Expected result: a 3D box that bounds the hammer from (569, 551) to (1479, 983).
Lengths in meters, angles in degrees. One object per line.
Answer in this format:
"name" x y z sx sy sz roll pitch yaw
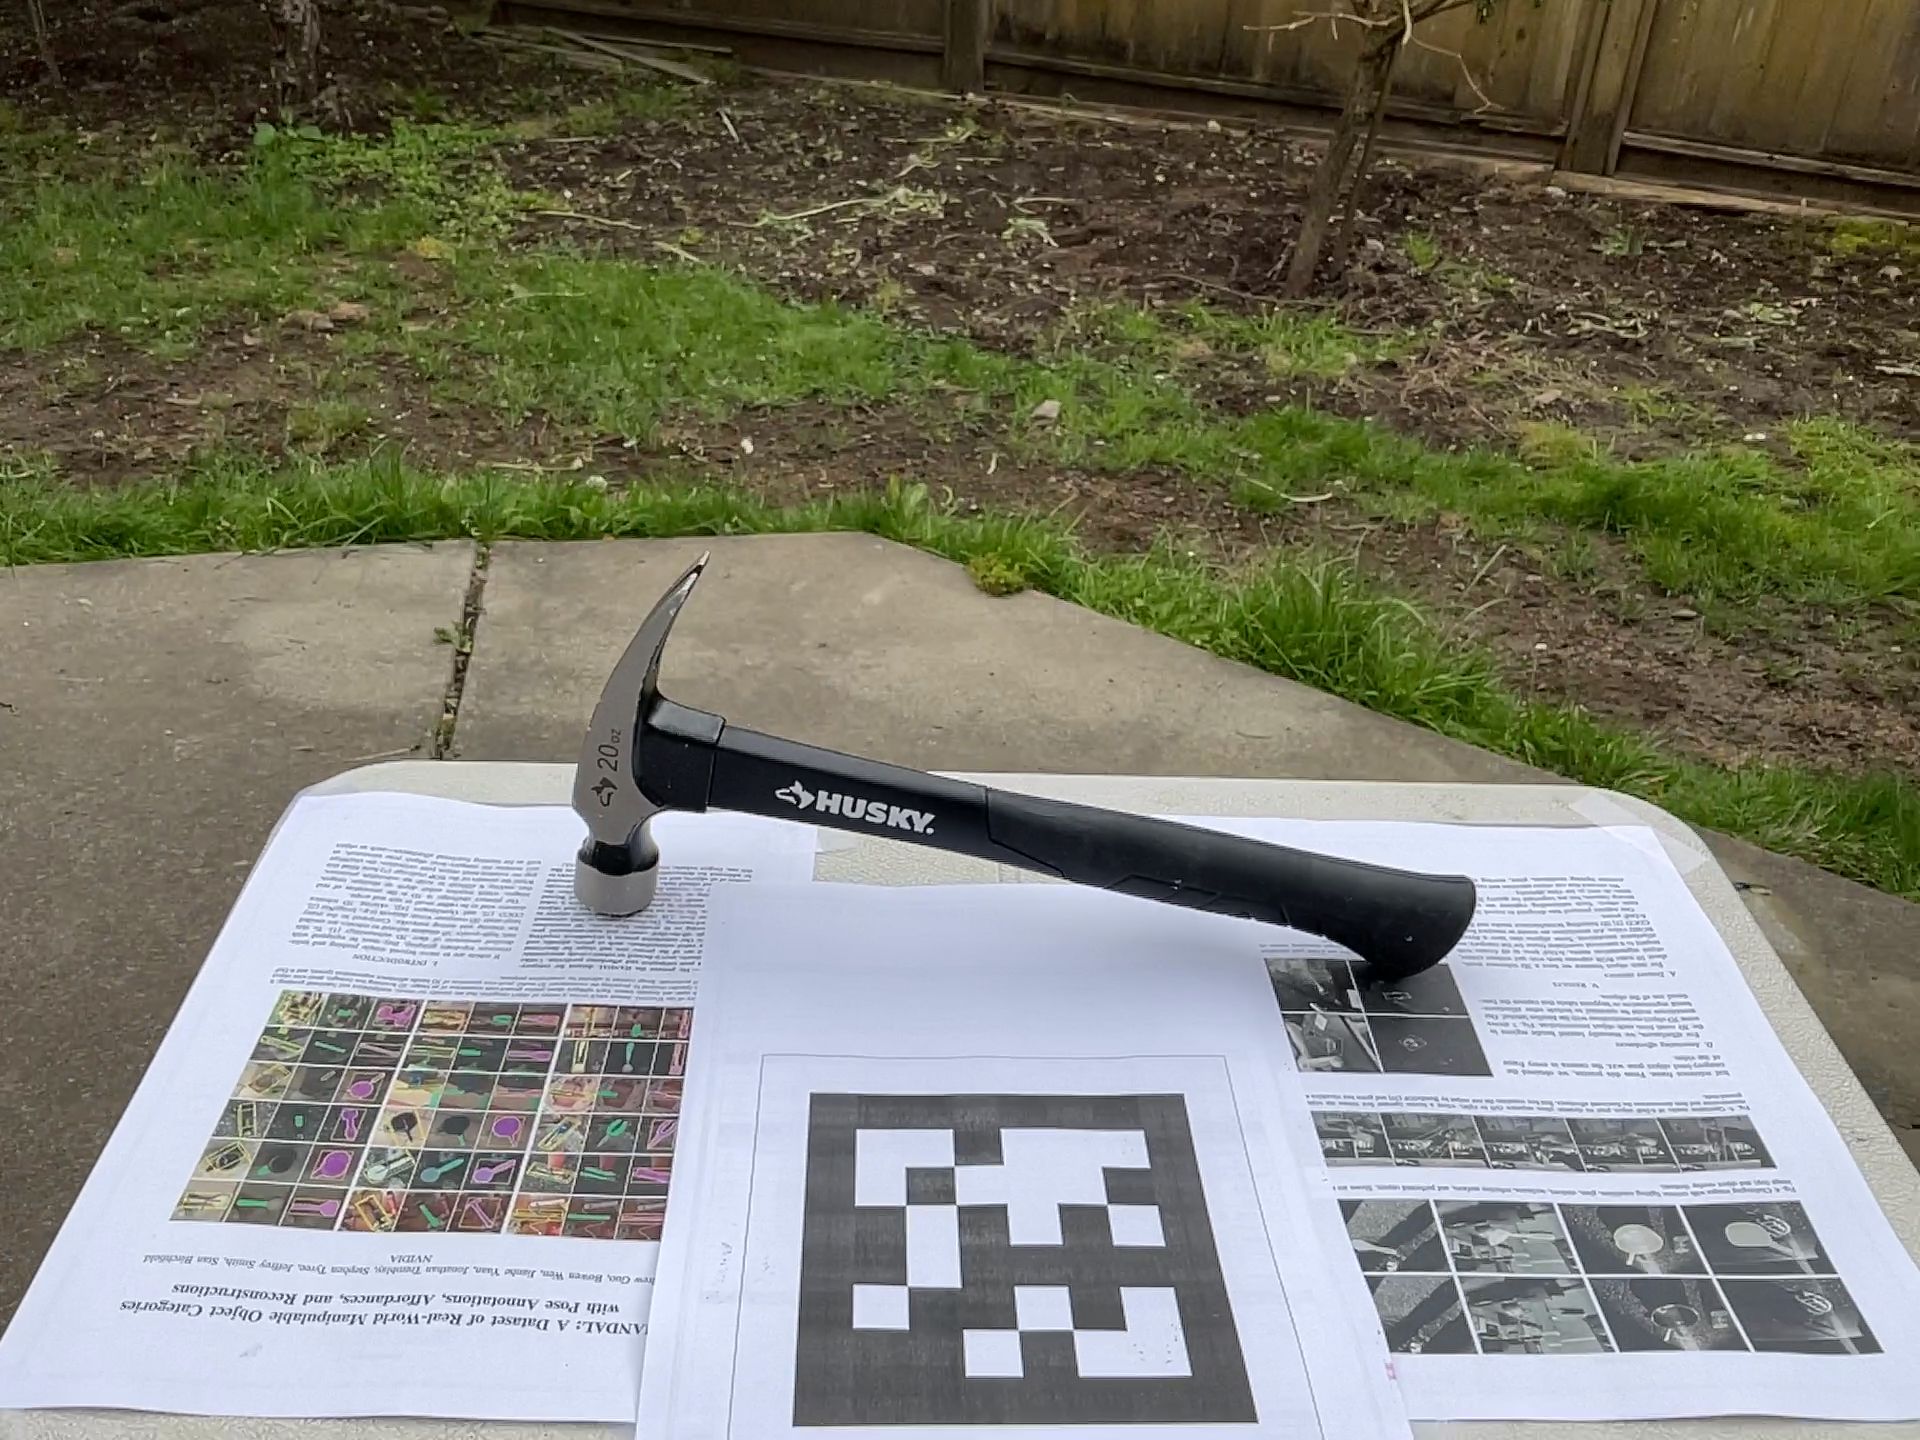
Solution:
"hammer" 0.025 0.038 0.591 0.334 0.146 0.035 12 29 -1
